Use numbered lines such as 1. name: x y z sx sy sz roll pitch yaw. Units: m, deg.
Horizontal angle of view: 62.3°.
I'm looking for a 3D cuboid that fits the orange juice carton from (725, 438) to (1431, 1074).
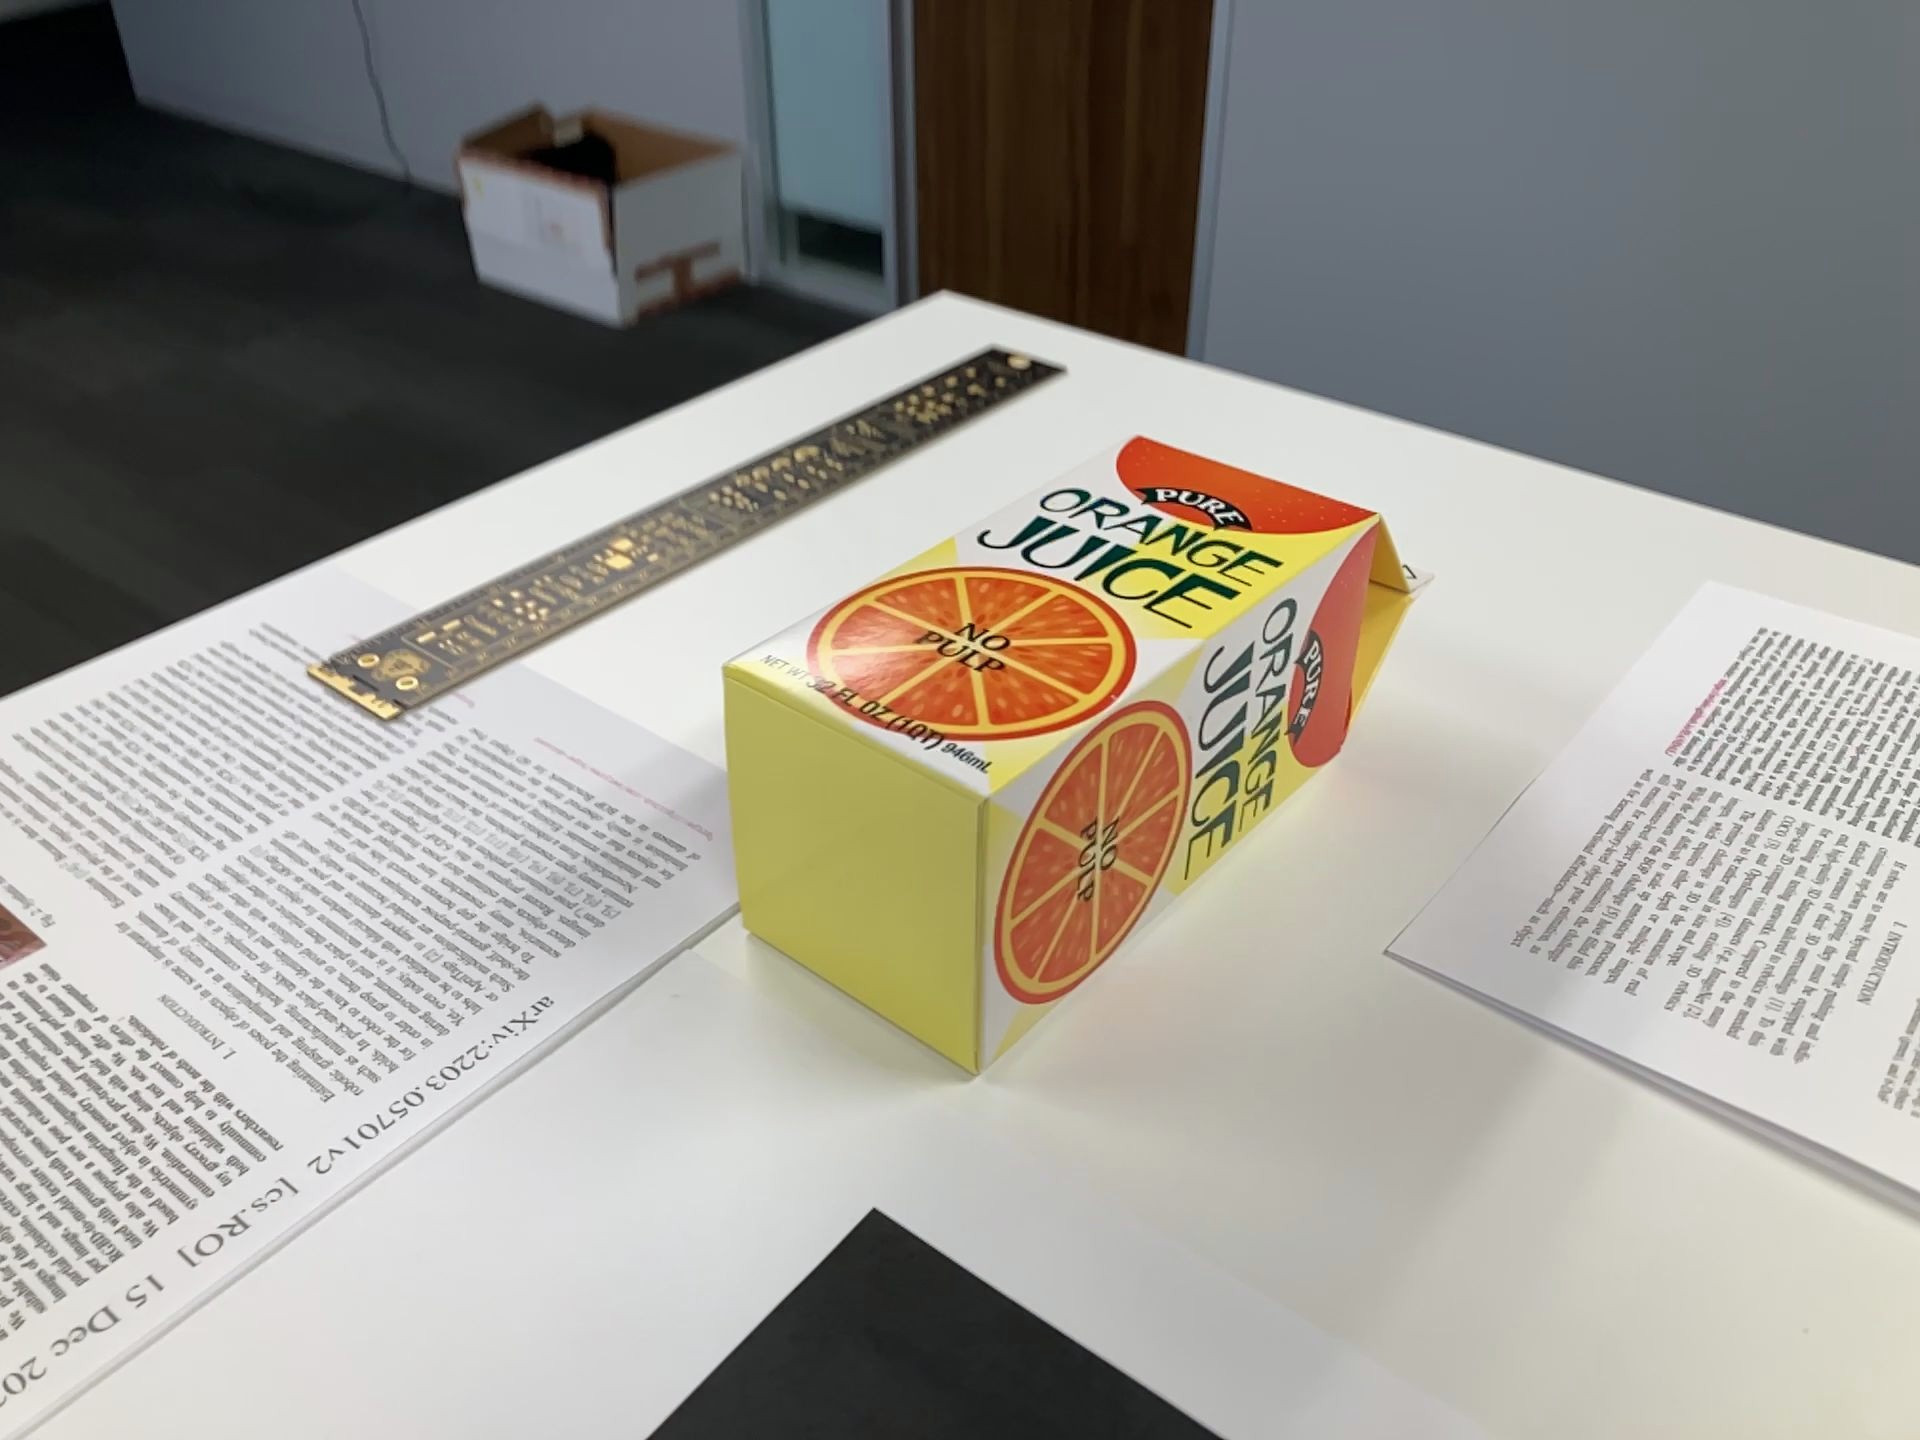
1. orange juice carton: 0.039 -0.009 0.385 0.072 0.073 0.192 25 42 32
